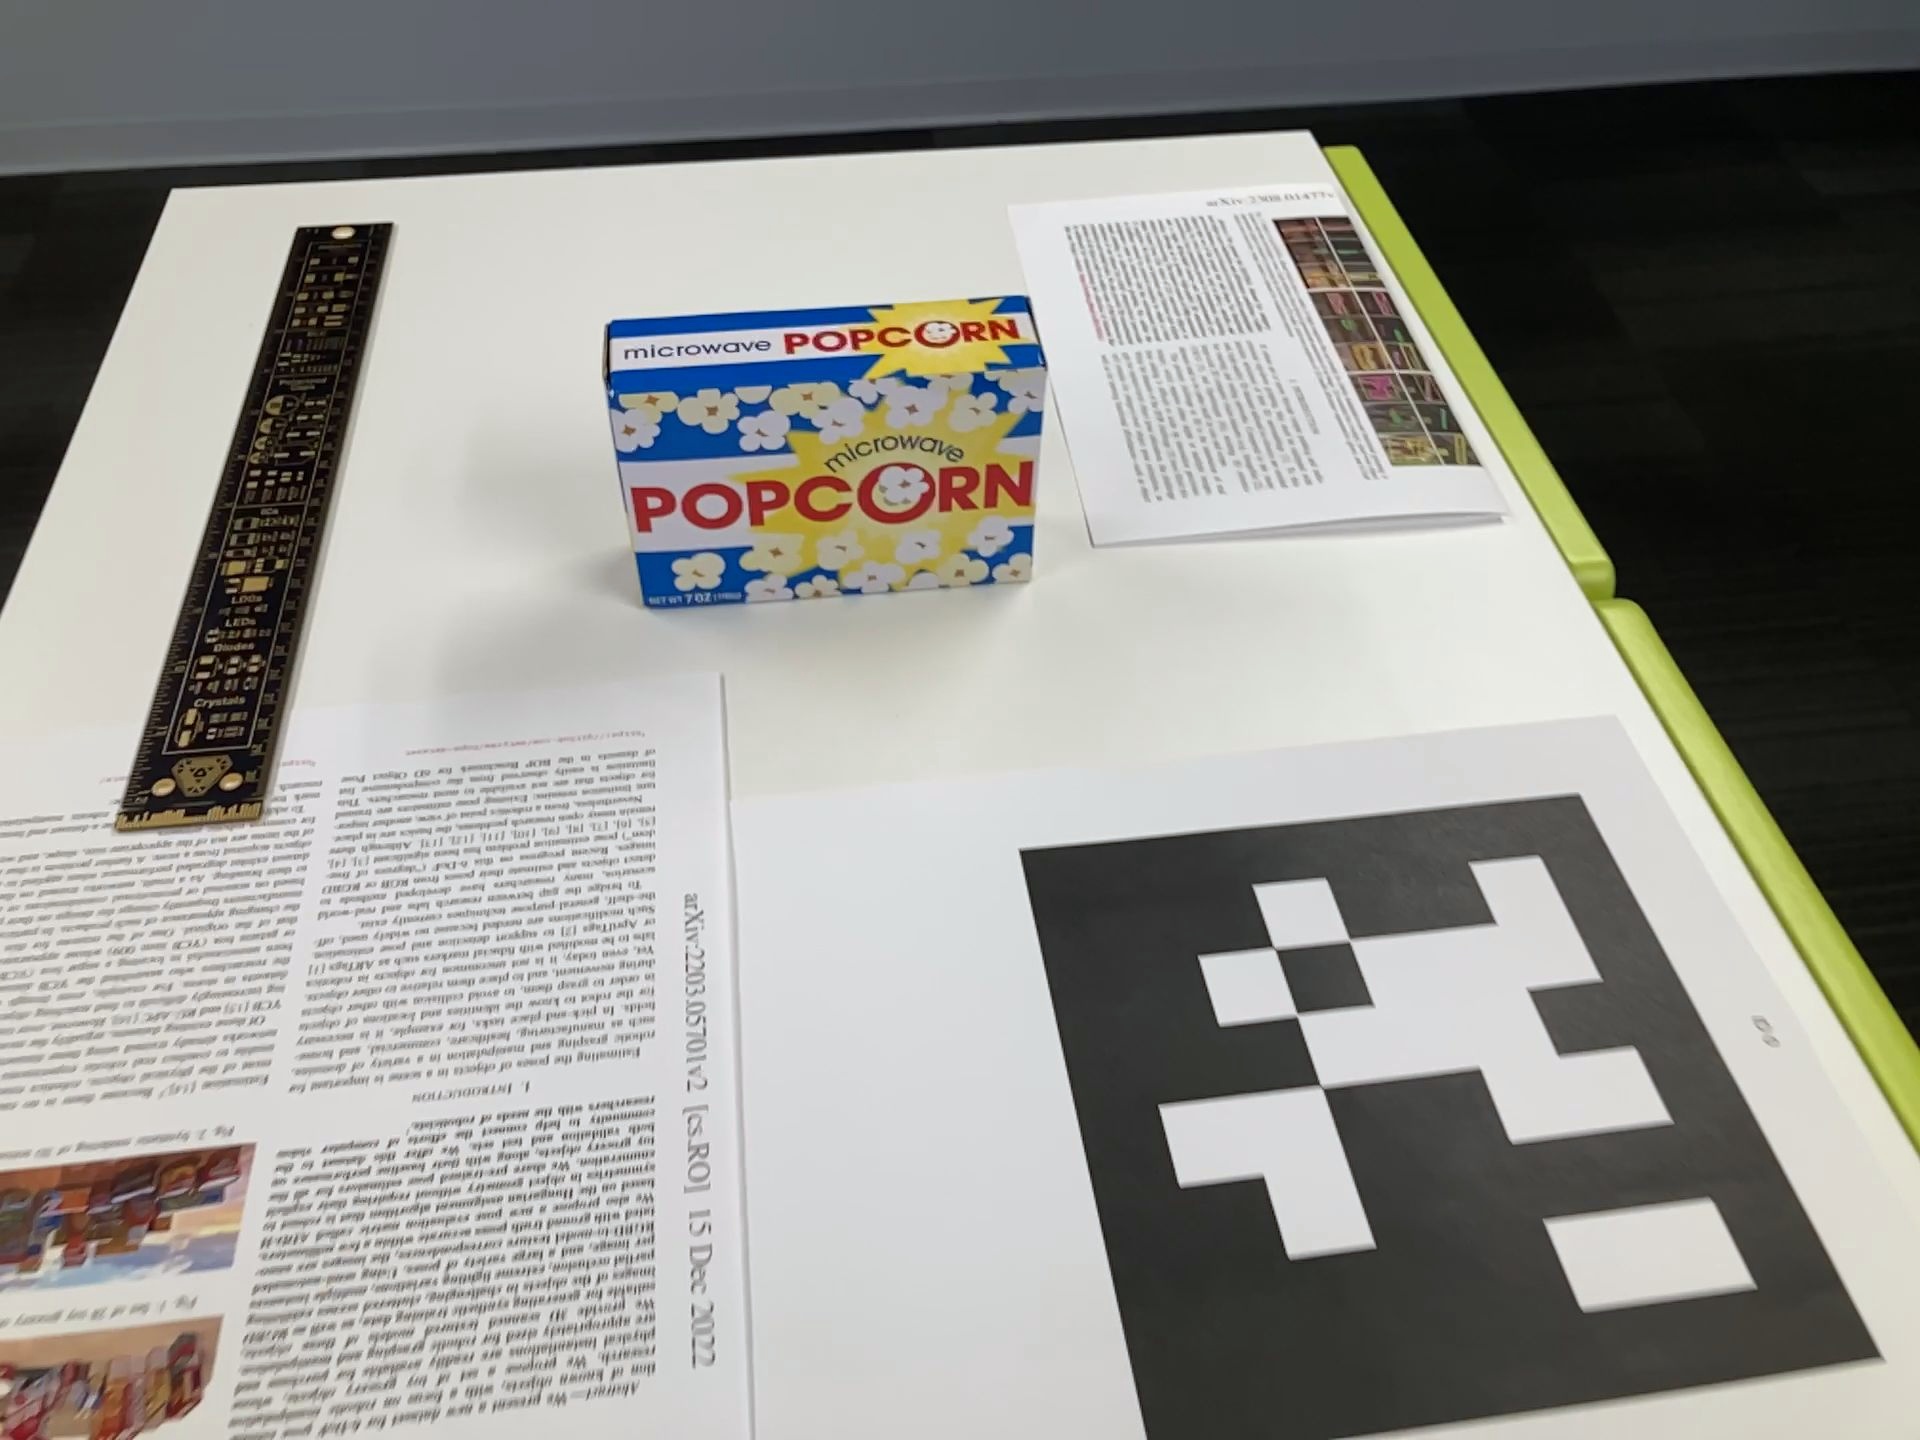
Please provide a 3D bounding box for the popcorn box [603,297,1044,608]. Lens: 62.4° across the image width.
[{"bbox_3d":[-0.040,-0.081,0.489,0.126,0.085,0.038,-5,47,-6],"label":"popcorn box"}]
